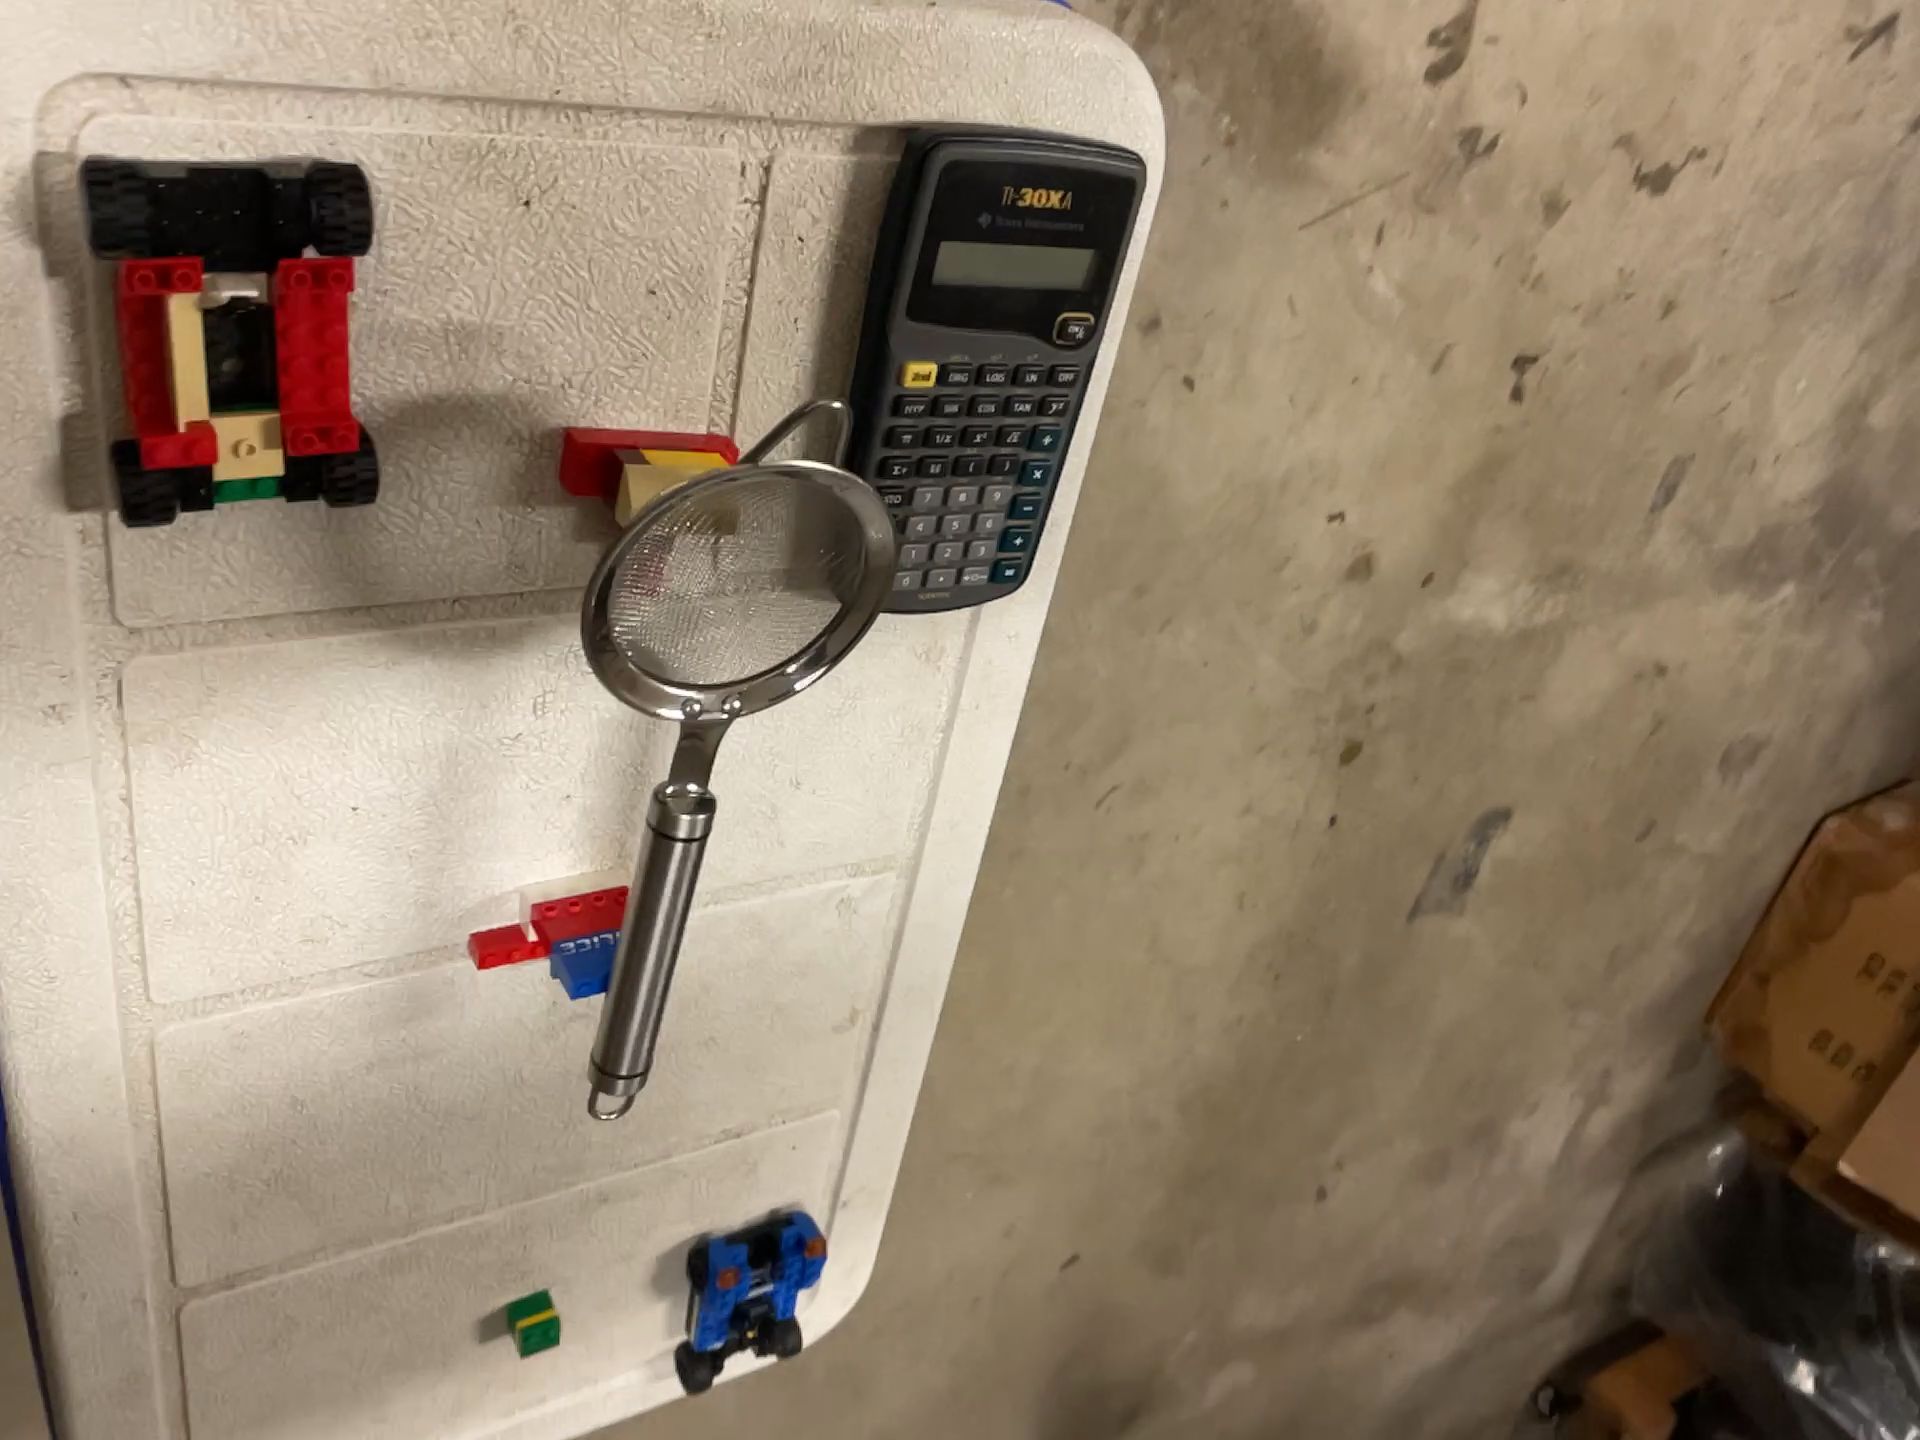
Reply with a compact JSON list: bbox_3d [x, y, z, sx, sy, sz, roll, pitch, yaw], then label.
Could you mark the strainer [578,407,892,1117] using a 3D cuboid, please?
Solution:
[{"bbox_3d":[-0.080,0.020,0.456,0.087,0.050,0.258,-3,125,-34],"label":"strainer"}]
